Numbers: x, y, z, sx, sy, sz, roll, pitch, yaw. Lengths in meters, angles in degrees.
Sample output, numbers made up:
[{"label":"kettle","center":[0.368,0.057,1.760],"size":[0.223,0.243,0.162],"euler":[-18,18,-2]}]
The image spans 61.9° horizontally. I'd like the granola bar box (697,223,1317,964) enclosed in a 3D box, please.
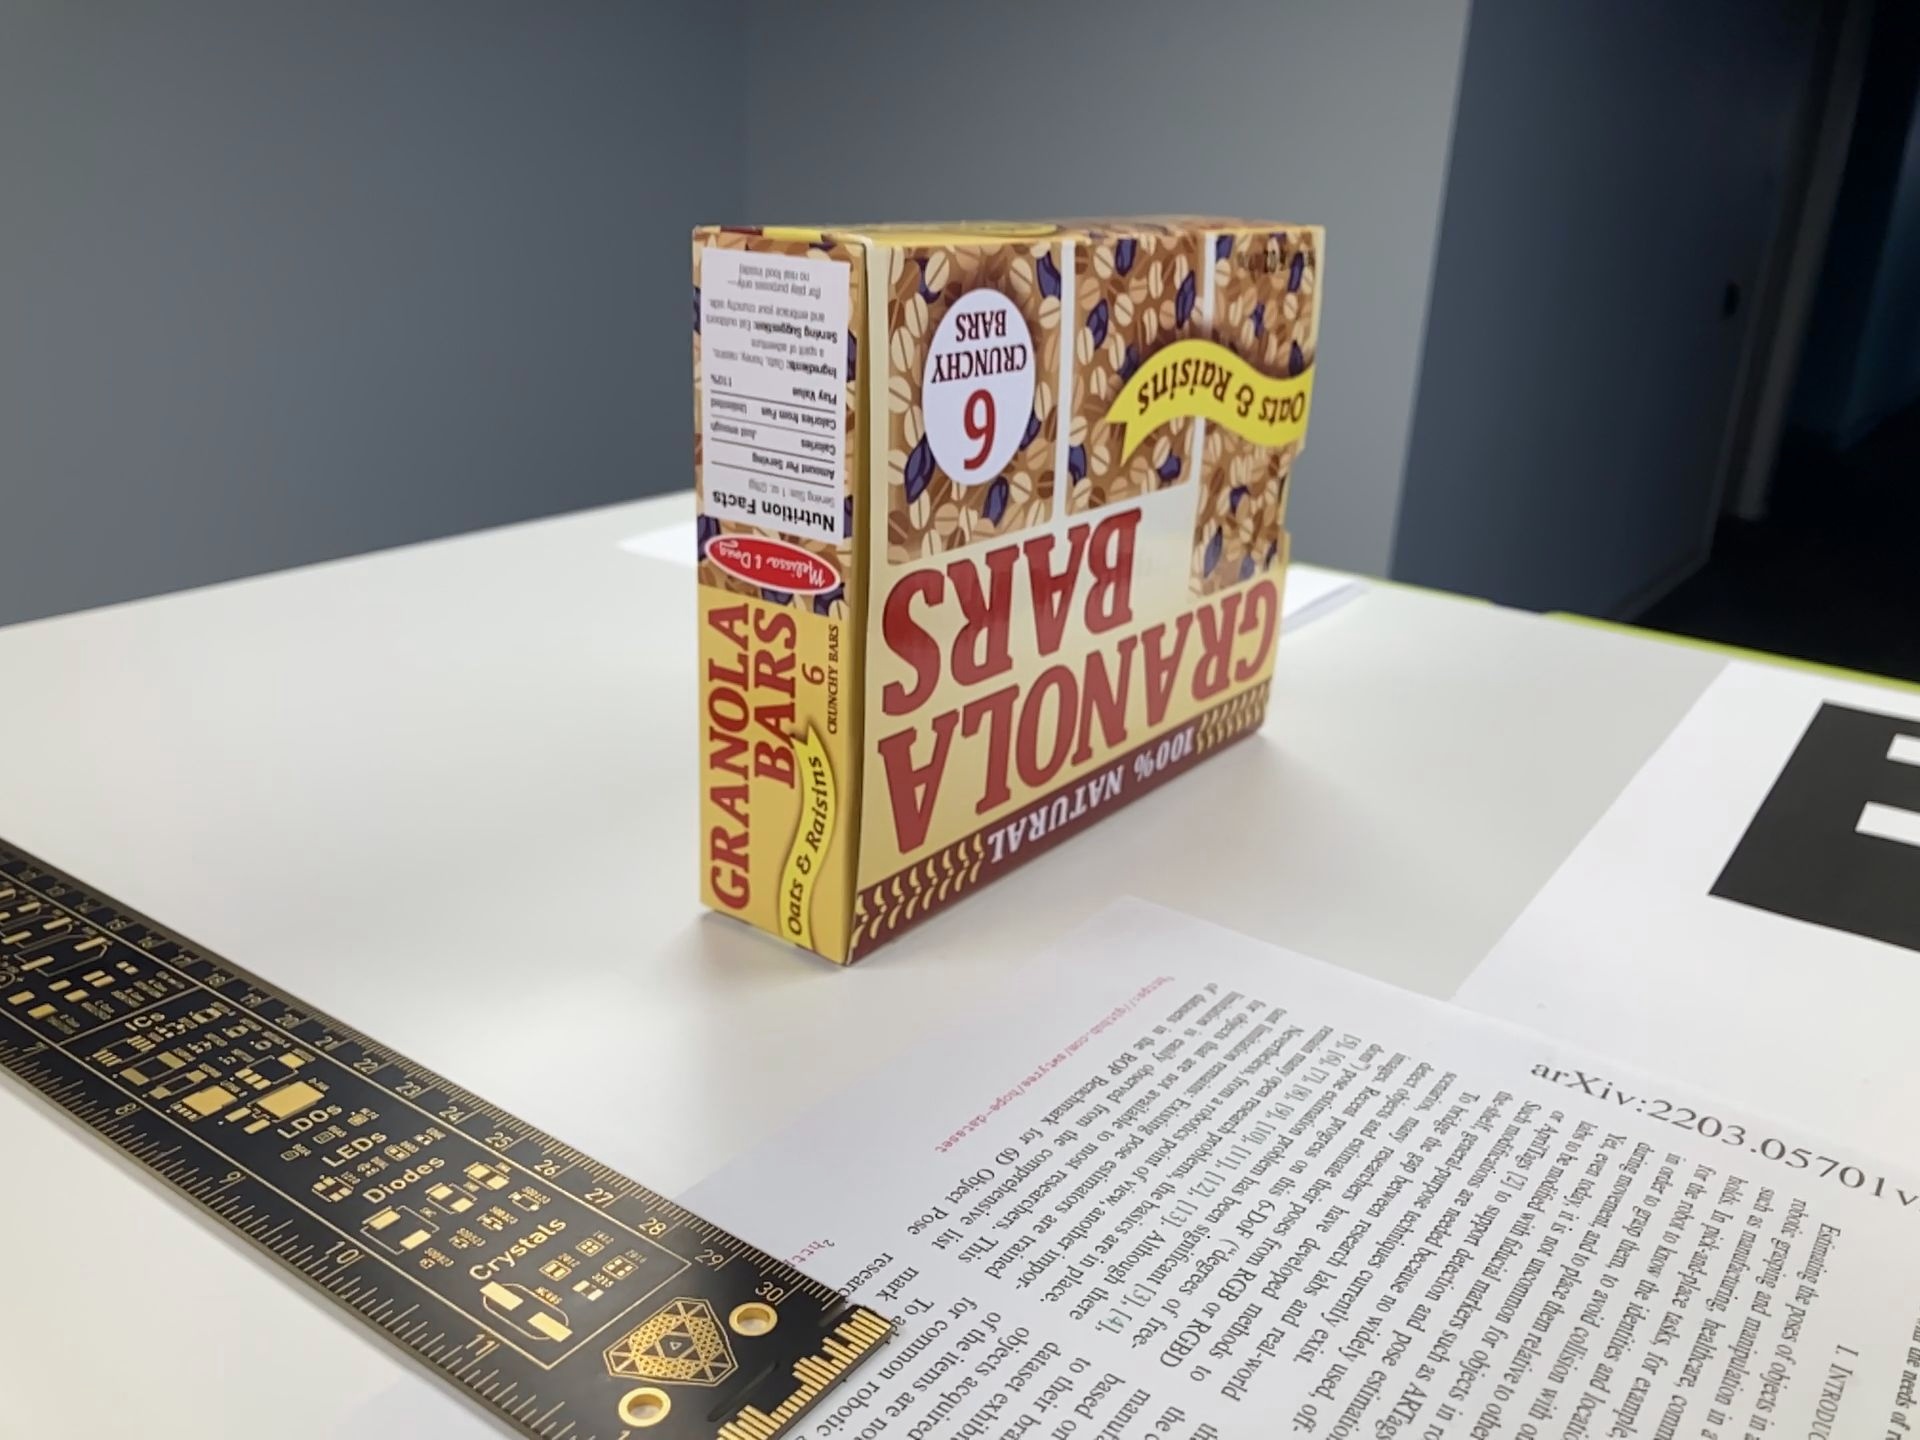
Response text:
[{"label":"granola bar box","center":[0.018,-0.038,0.334],"size":[0.039,0.124,0.165],"euler":[16,24,33]}]
